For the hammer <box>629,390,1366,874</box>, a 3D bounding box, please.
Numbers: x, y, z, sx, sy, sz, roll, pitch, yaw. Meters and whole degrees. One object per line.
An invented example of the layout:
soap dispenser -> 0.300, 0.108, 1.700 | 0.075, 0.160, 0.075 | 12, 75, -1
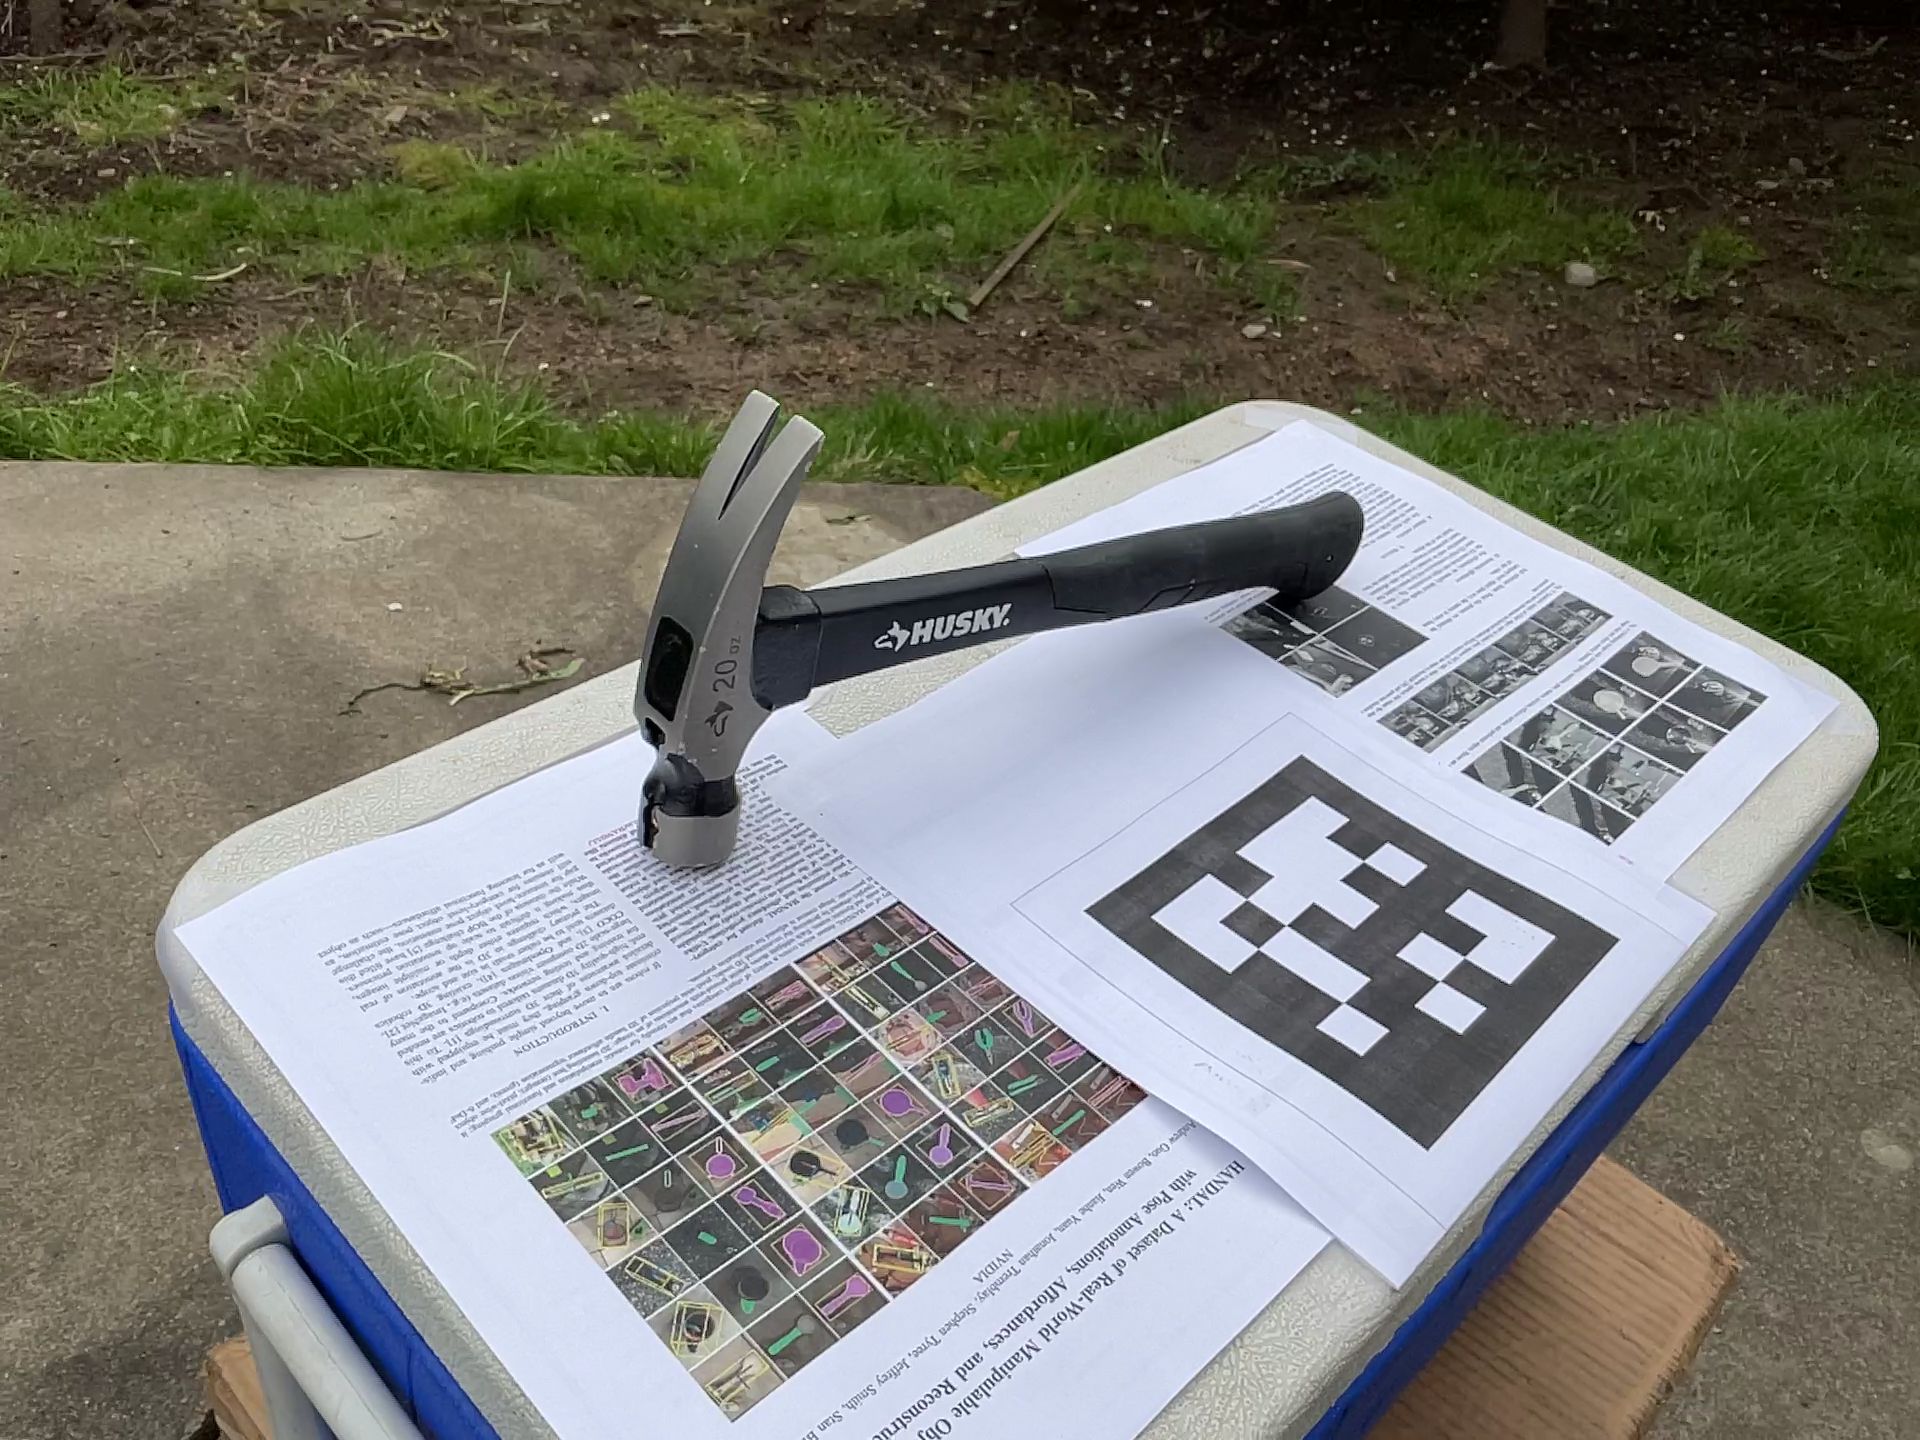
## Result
hammer -> 0.037, -0.050, 0.570 | 0.334, 0.146, 0.035 | -14, 38, -40
